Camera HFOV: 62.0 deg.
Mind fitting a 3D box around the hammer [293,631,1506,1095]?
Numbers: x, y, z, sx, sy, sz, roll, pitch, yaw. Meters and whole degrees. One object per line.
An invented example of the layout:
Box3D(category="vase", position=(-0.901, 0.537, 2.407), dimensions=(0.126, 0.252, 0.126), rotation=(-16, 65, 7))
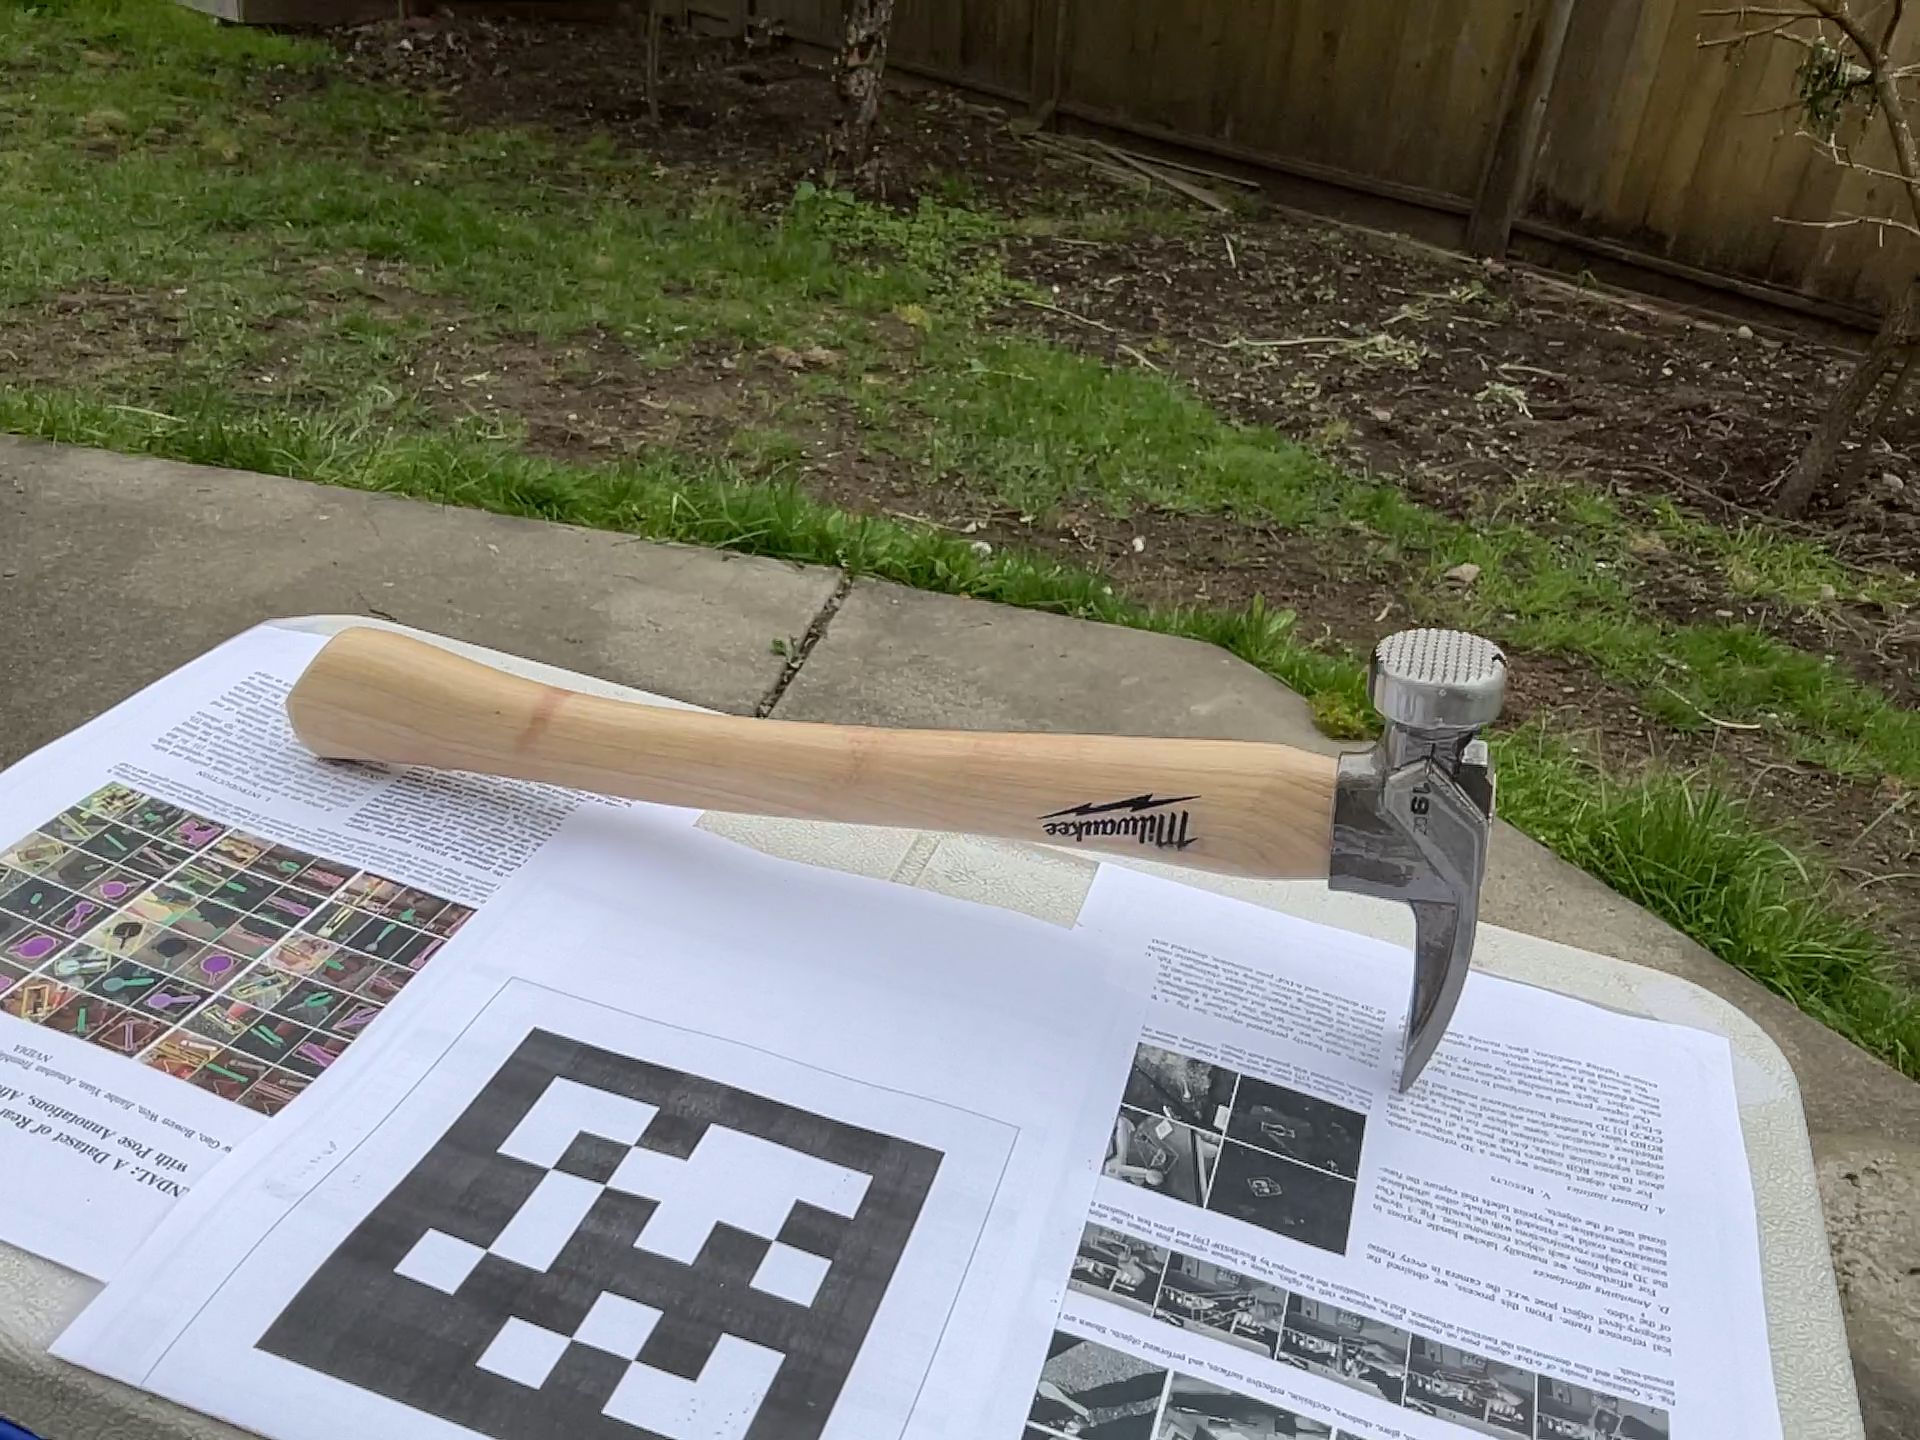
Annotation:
Box3D(category="hammer", position=(-0.039, 0.027, 0.536), dimensions=(0.410, 0.146, 0.038), rotation=(6, 28, 17))
